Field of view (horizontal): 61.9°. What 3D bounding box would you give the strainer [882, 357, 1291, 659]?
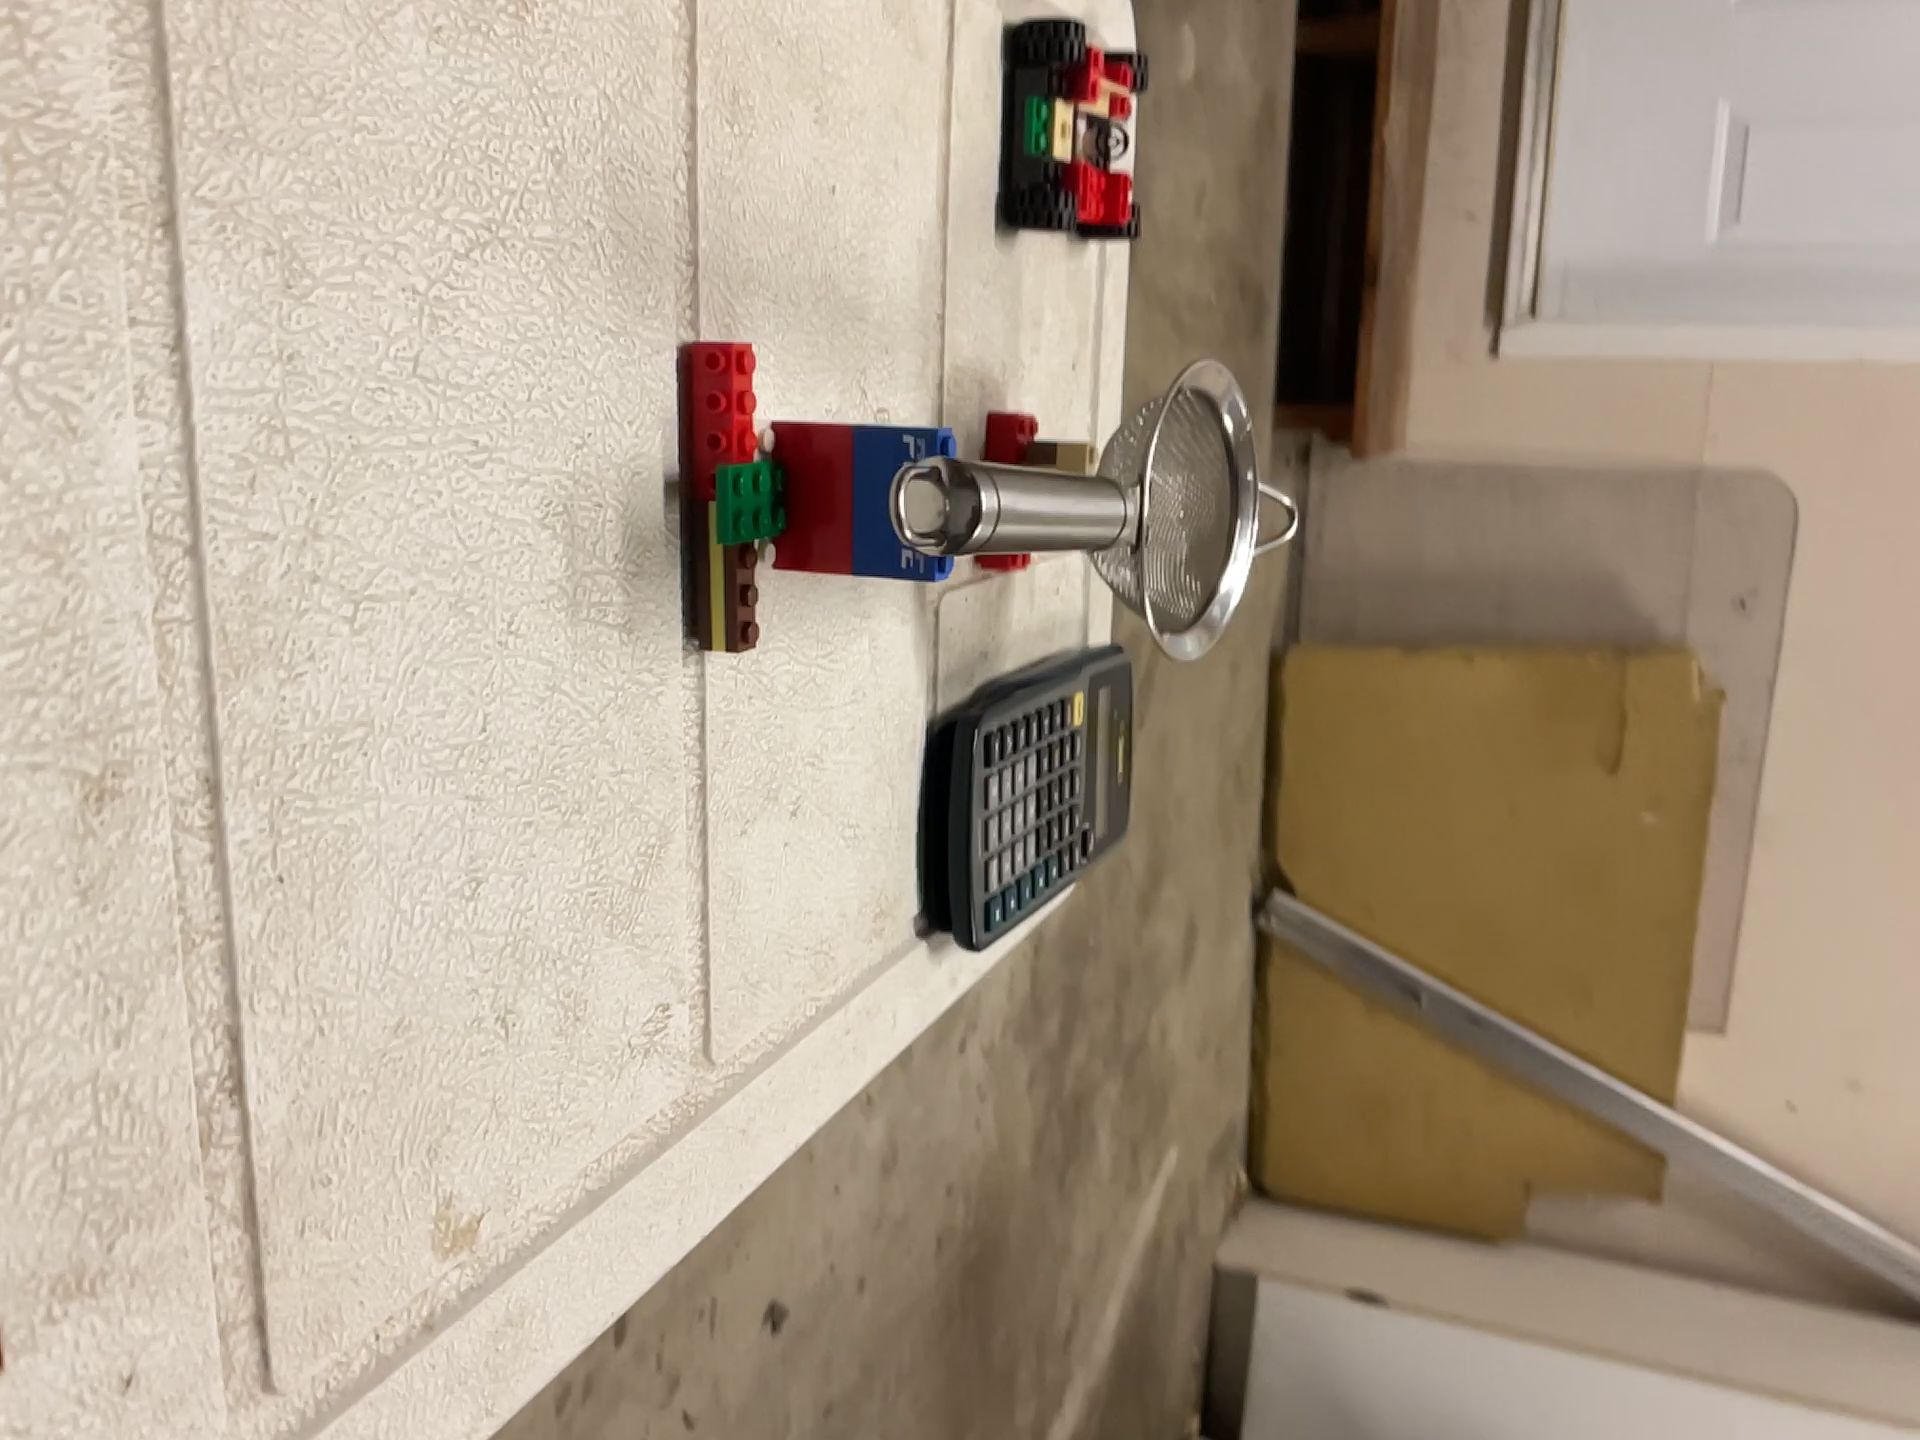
[{"bbox_3d":[0.035,-0.054,0.406,0.258,0.050,0.086,-17,110,-67],"label":"strainer"}]
